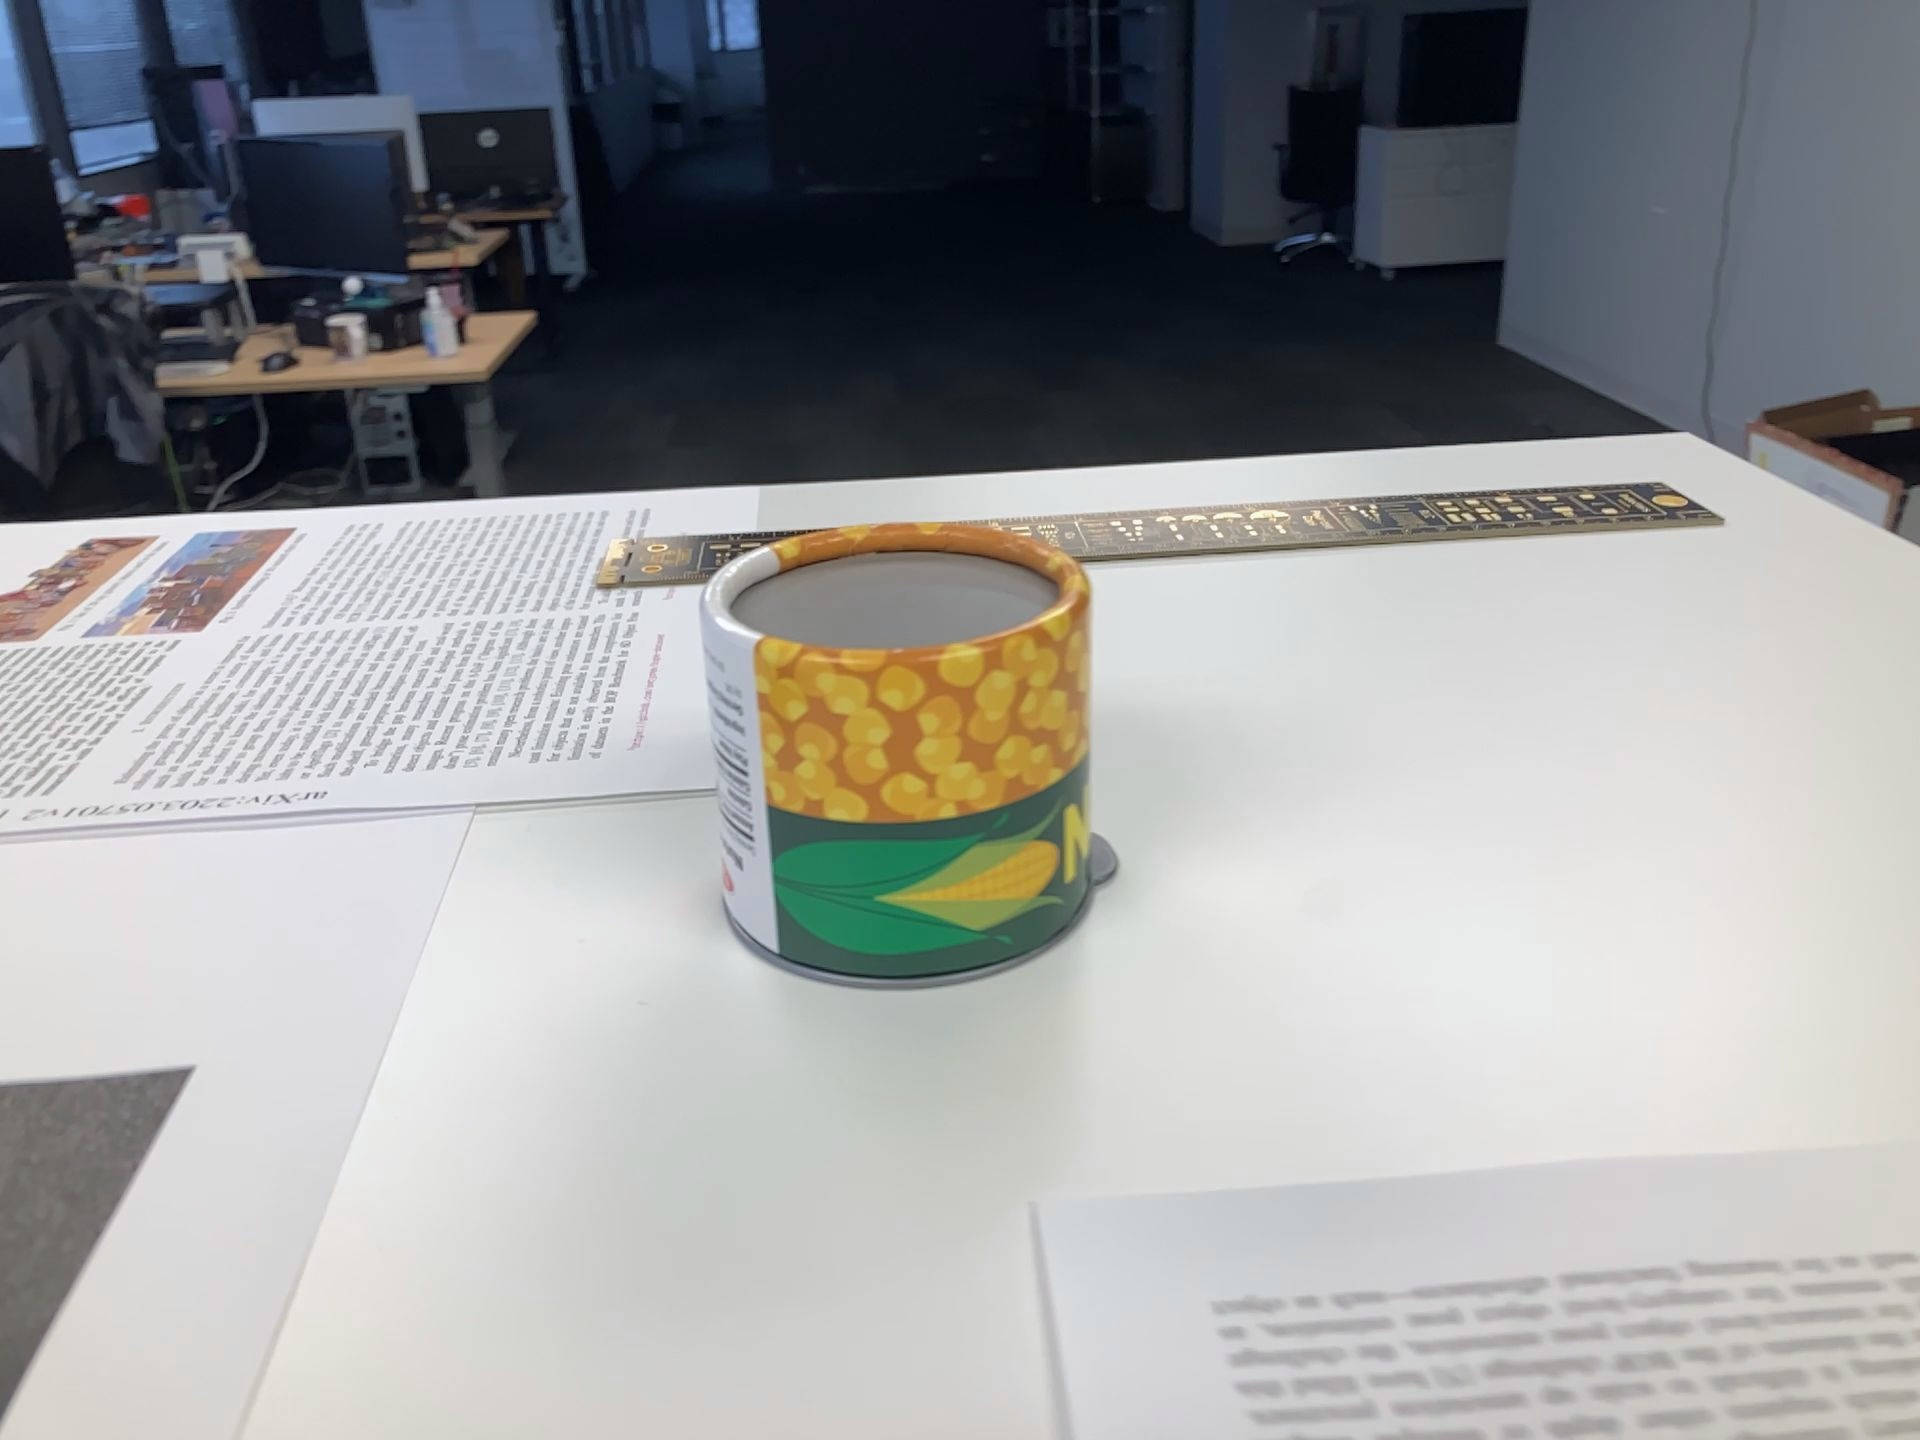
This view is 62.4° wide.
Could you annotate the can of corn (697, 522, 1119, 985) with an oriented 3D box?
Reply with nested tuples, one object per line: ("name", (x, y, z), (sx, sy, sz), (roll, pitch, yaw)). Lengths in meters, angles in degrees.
("can of corn", (-0.008, 0.003, 0.273), (0.071, 0.058, 0.071), (-2, 24, 1))
